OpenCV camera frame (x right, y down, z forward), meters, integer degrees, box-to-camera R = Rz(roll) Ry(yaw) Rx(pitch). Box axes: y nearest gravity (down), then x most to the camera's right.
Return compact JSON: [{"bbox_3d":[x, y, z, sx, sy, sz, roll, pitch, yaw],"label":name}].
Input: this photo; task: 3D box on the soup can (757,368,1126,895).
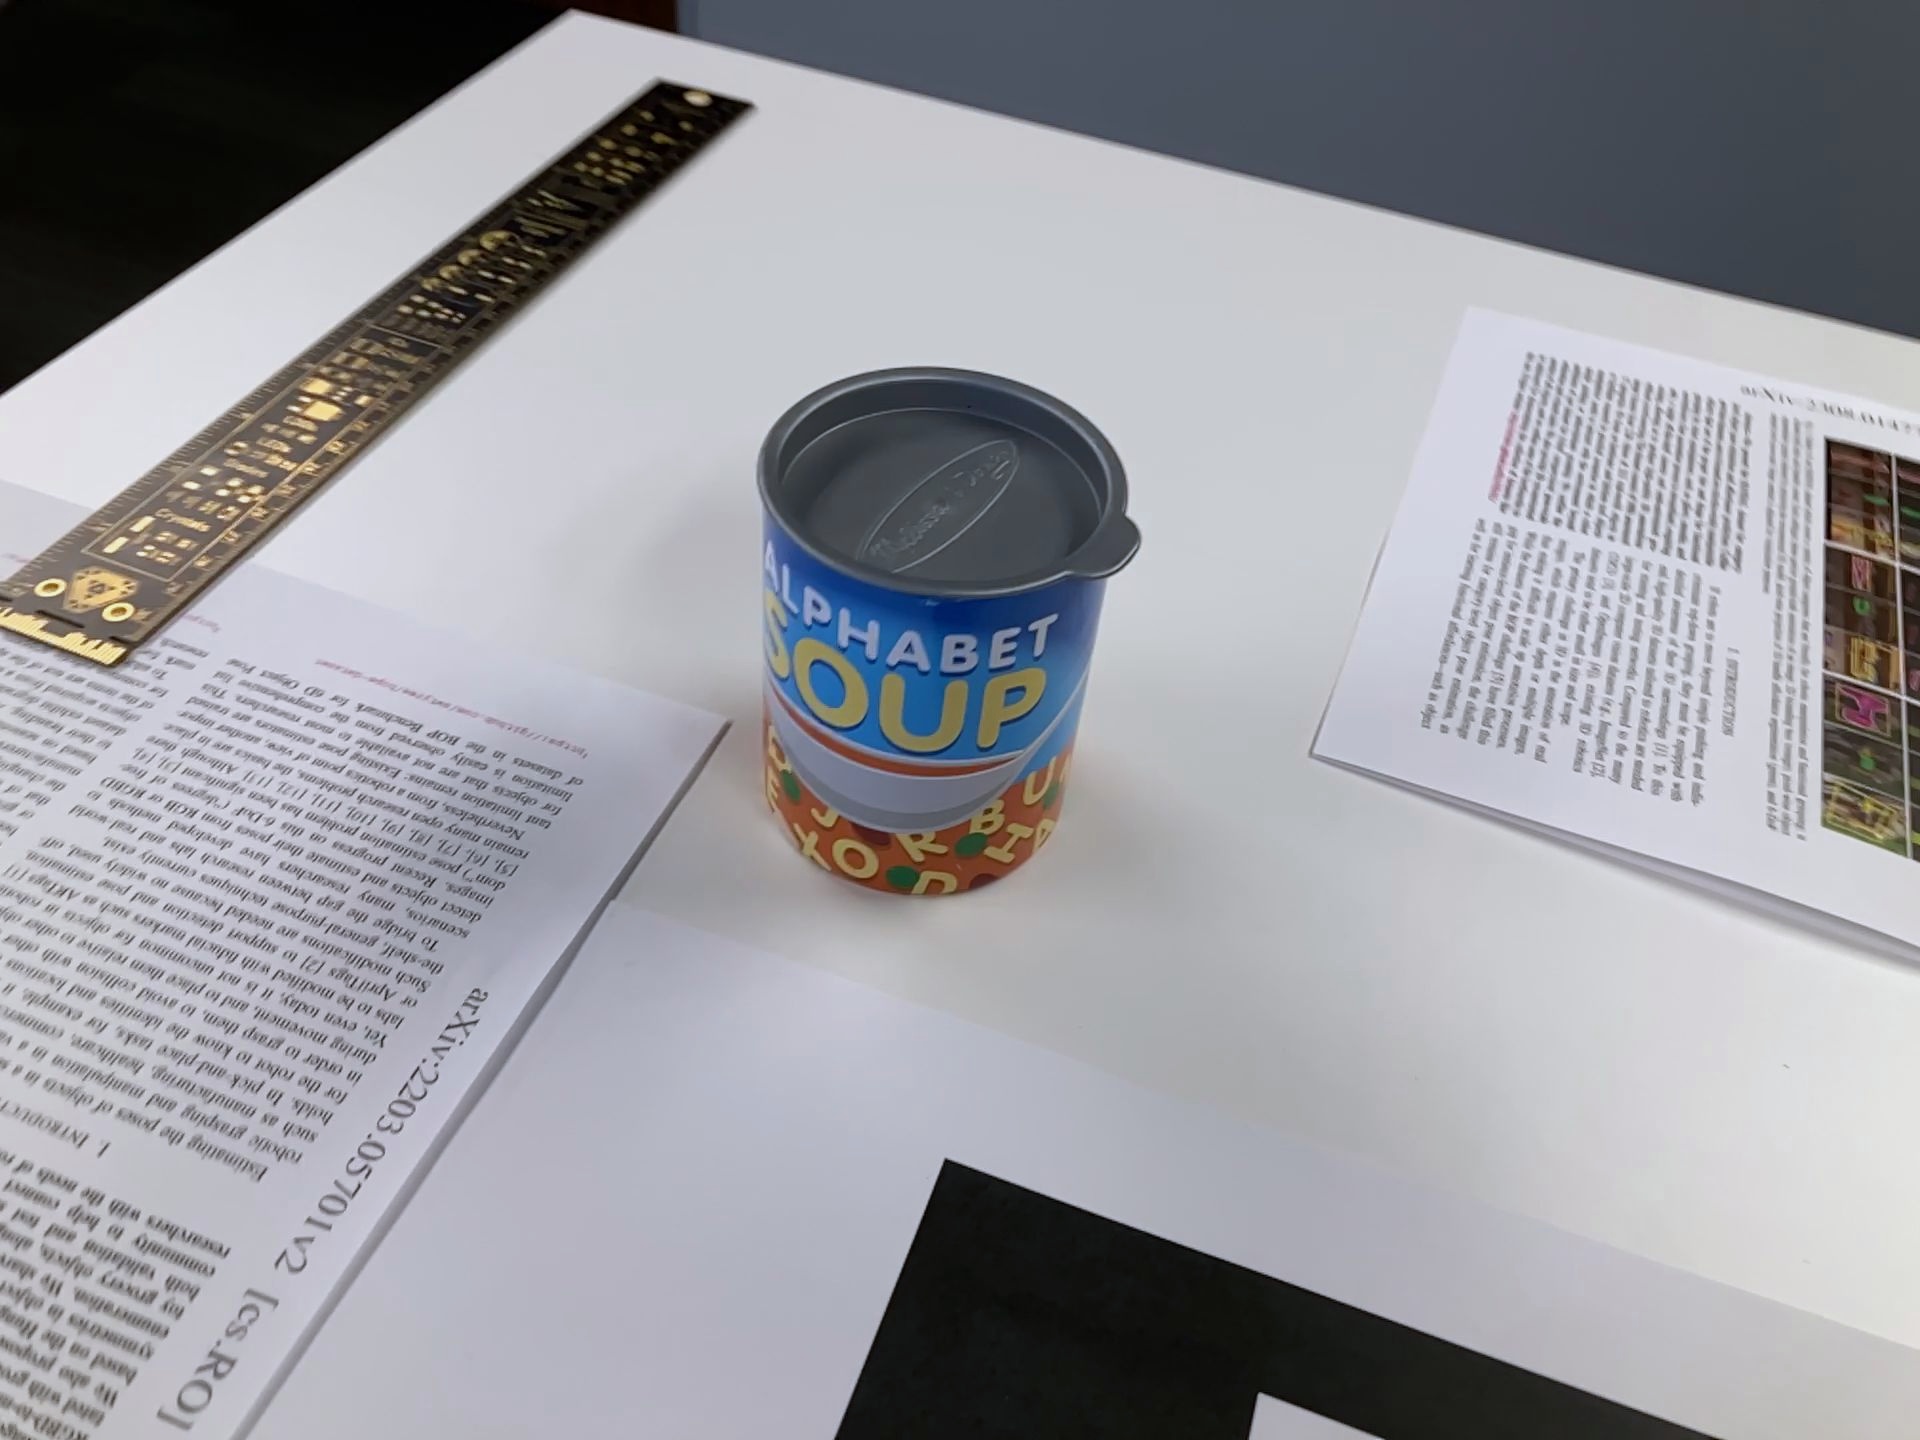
[{"bbox_3d":[-0.007,-0.014,0.312,0.071,0.084,0.071,3,45,-3],"label":"soup can"}]
